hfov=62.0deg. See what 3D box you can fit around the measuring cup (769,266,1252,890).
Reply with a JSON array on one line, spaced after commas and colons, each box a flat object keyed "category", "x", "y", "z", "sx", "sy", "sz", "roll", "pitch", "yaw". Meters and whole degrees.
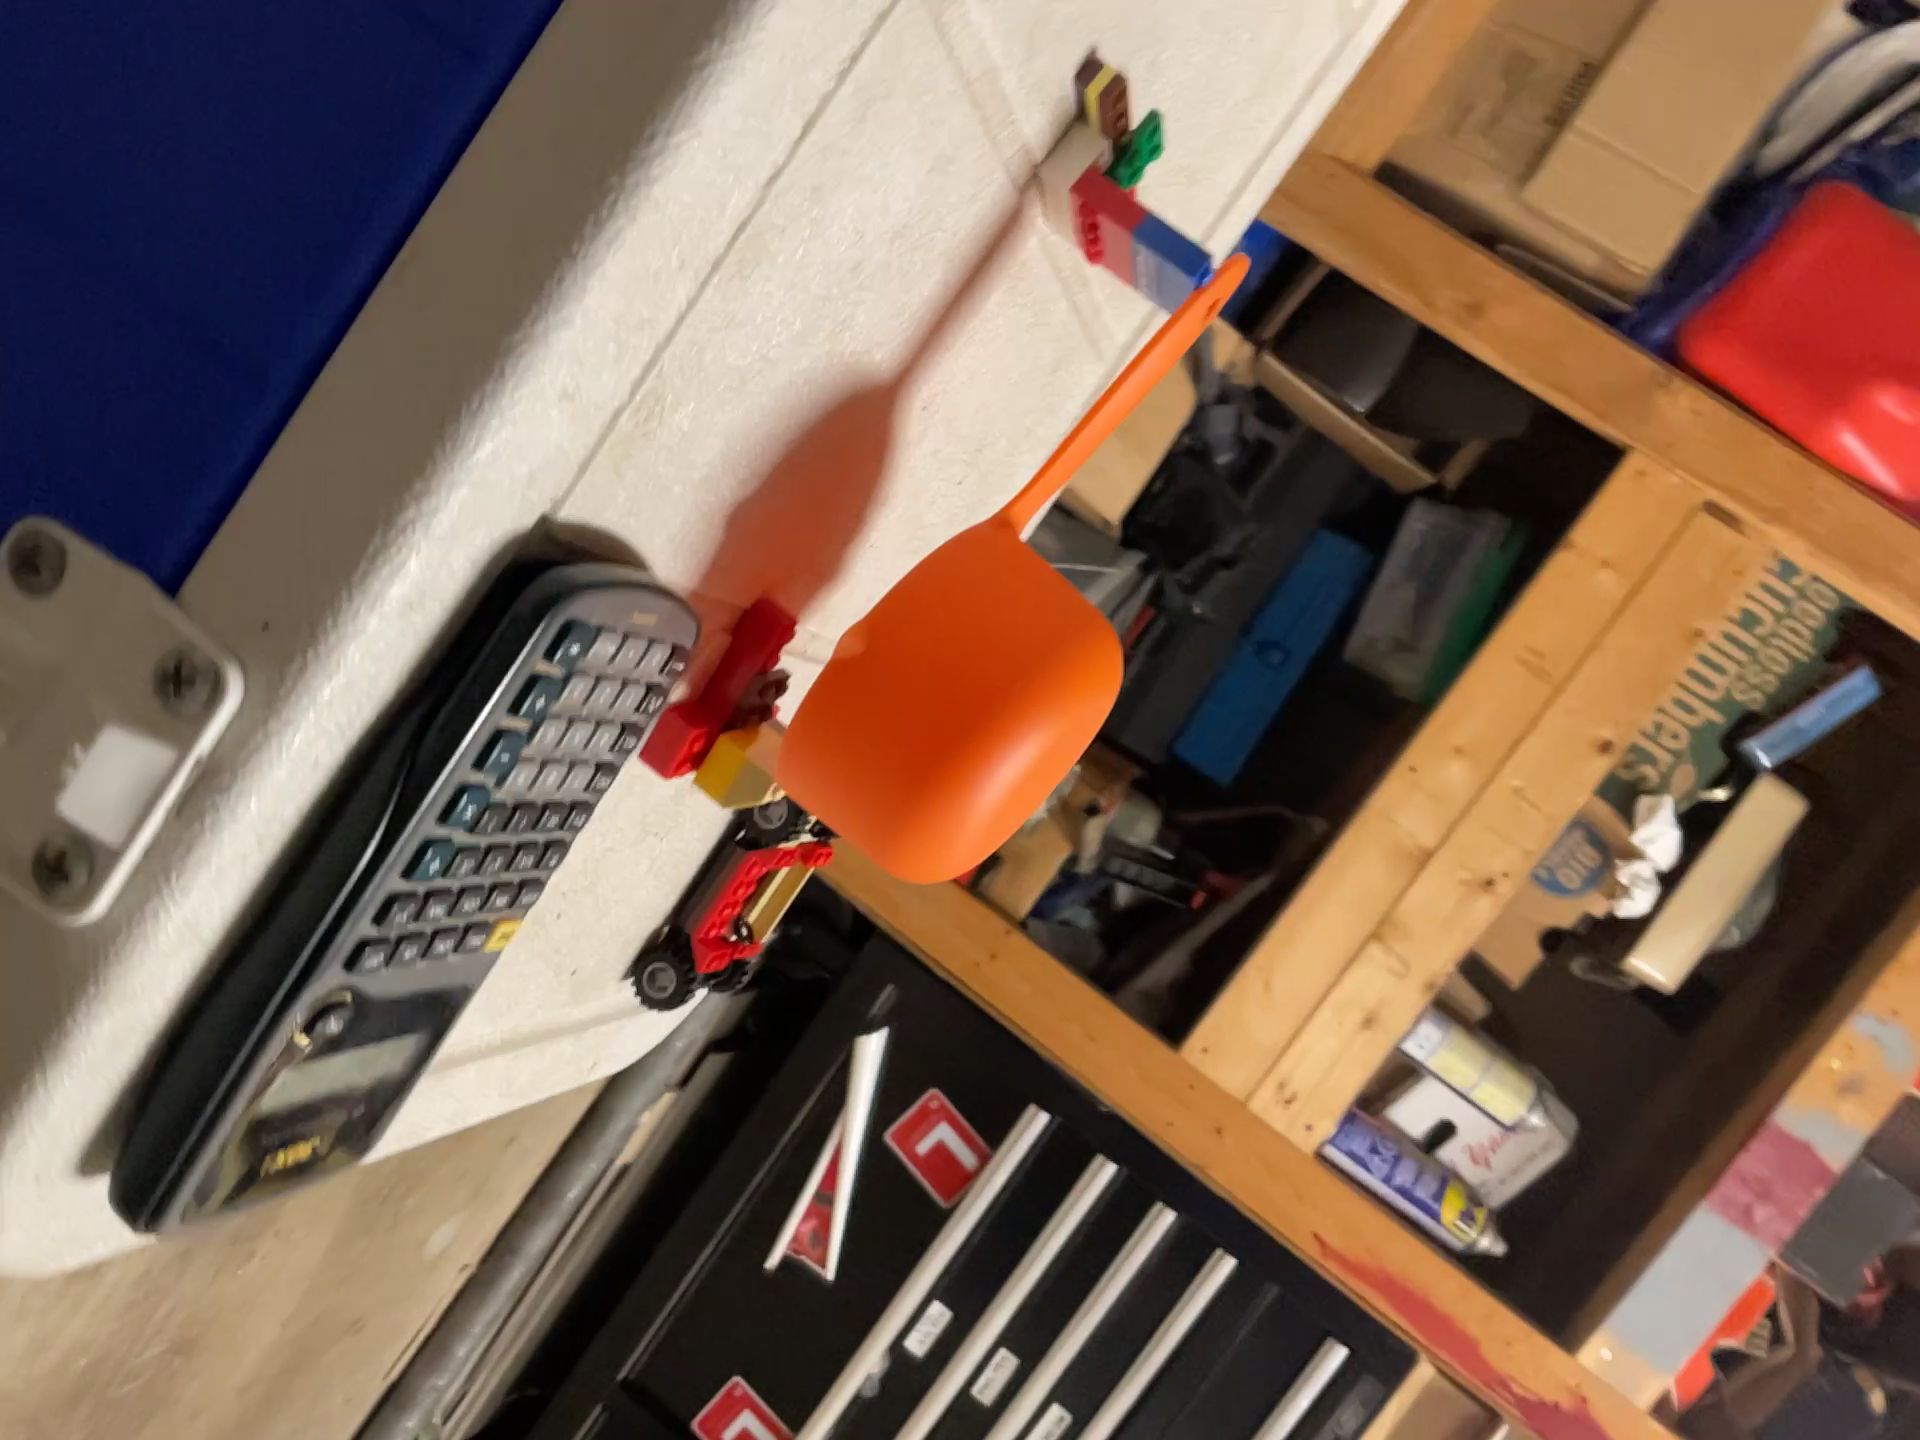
[{"category": "measuring cup", "x": 0.029, "y": -0.031, "z": 0.393, "sx": 0.173, "sy": 0.052, "sz": 0.095, "roll": -48, "pitch": 169, "yaw": 4}]
